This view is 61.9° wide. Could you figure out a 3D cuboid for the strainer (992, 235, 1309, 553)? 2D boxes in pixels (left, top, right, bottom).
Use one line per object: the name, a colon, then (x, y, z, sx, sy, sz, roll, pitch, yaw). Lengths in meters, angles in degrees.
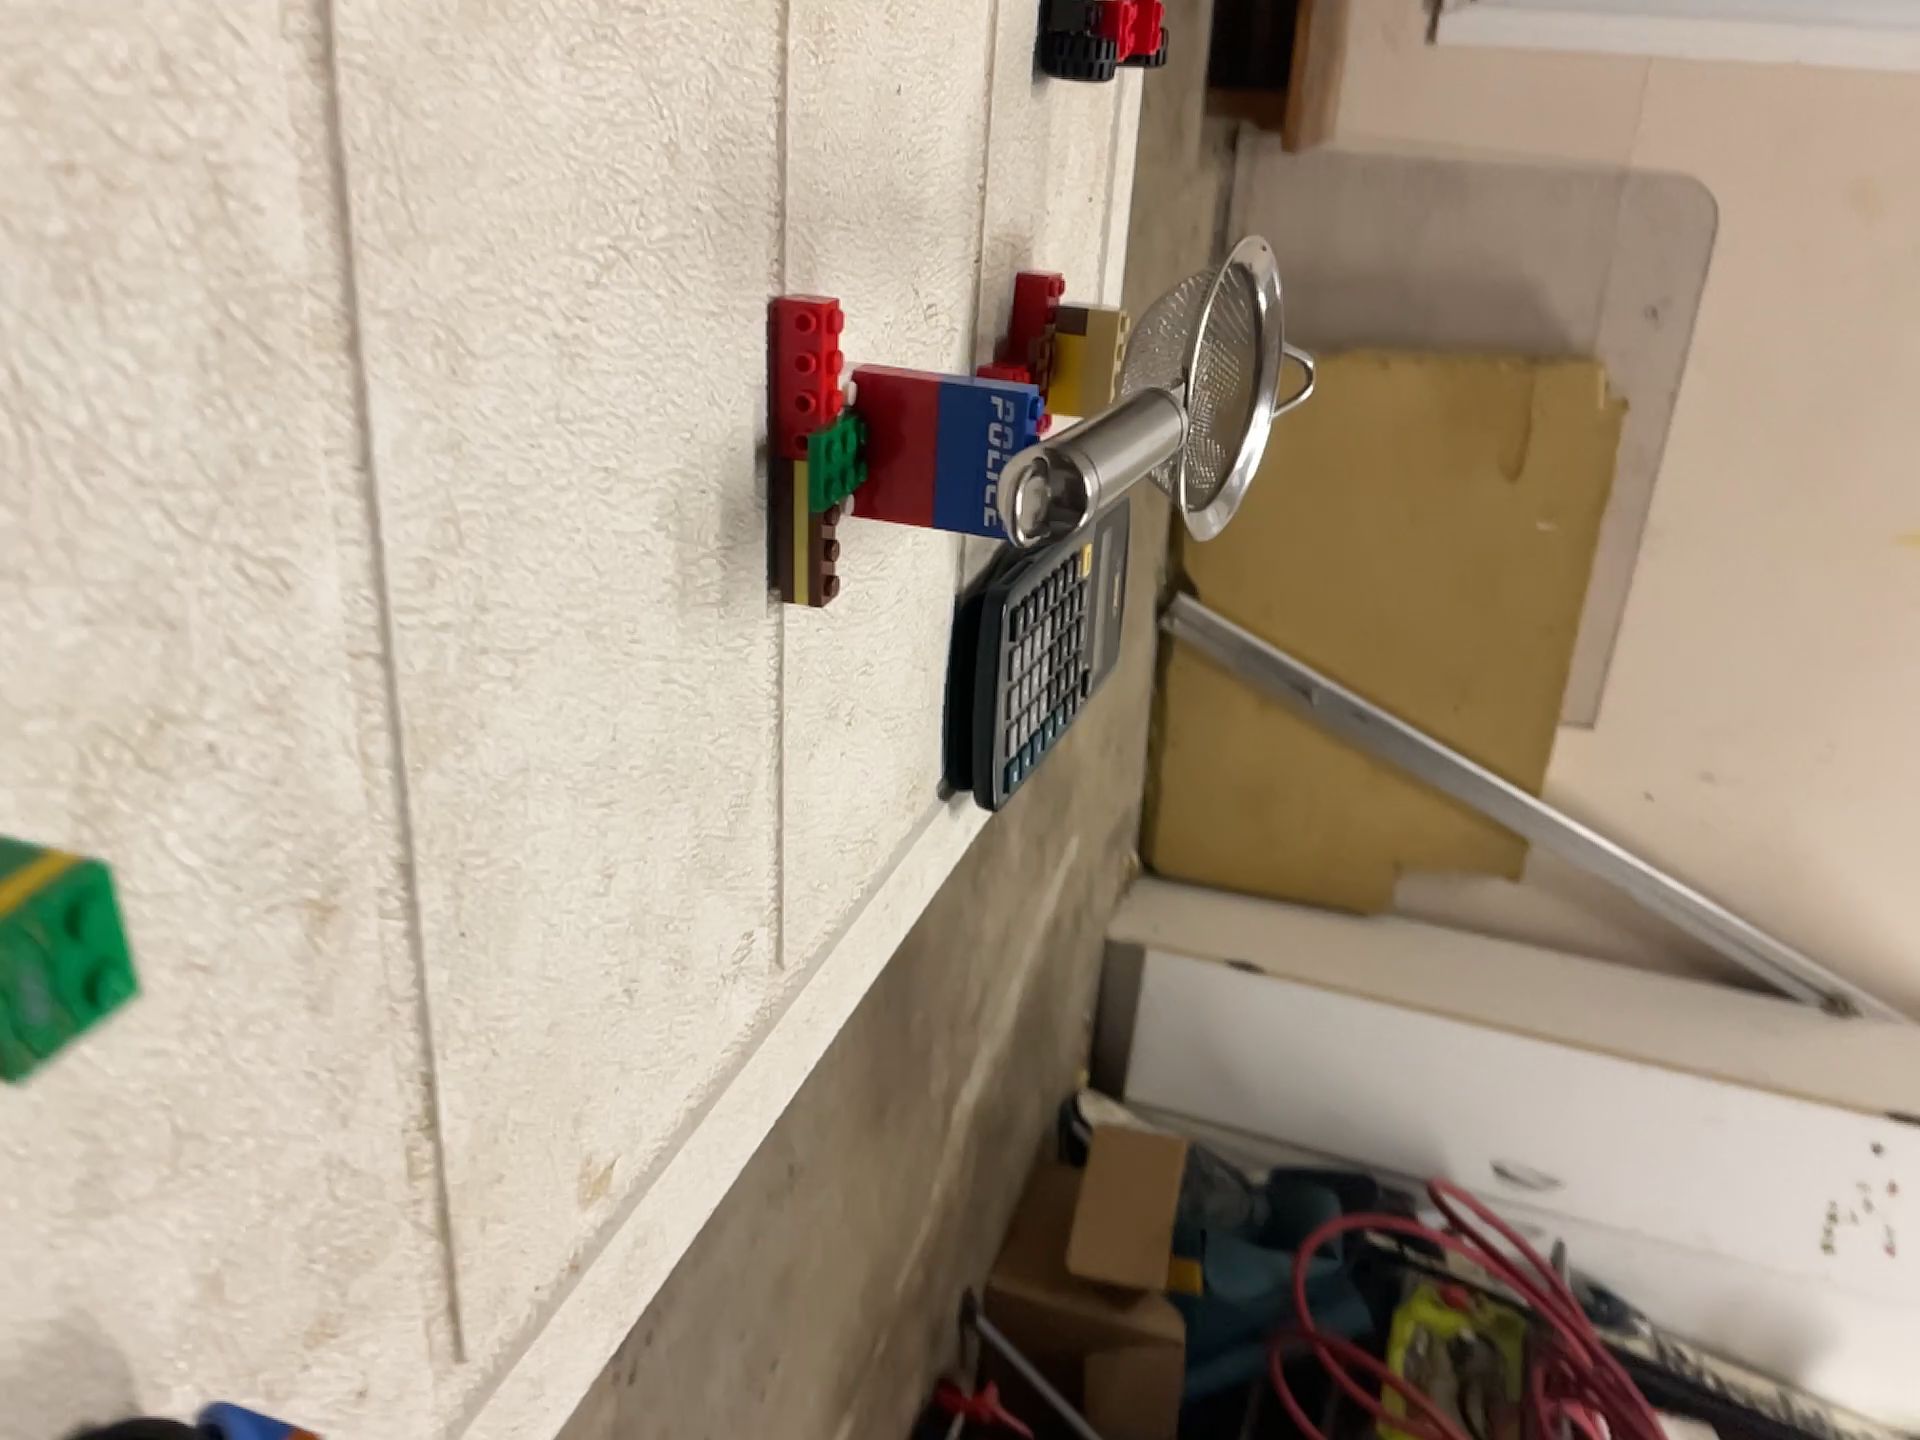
strainer: (0.048, -0.077, 0.406, 0.259, 0.050, 0.086, -44, 140, -64)
